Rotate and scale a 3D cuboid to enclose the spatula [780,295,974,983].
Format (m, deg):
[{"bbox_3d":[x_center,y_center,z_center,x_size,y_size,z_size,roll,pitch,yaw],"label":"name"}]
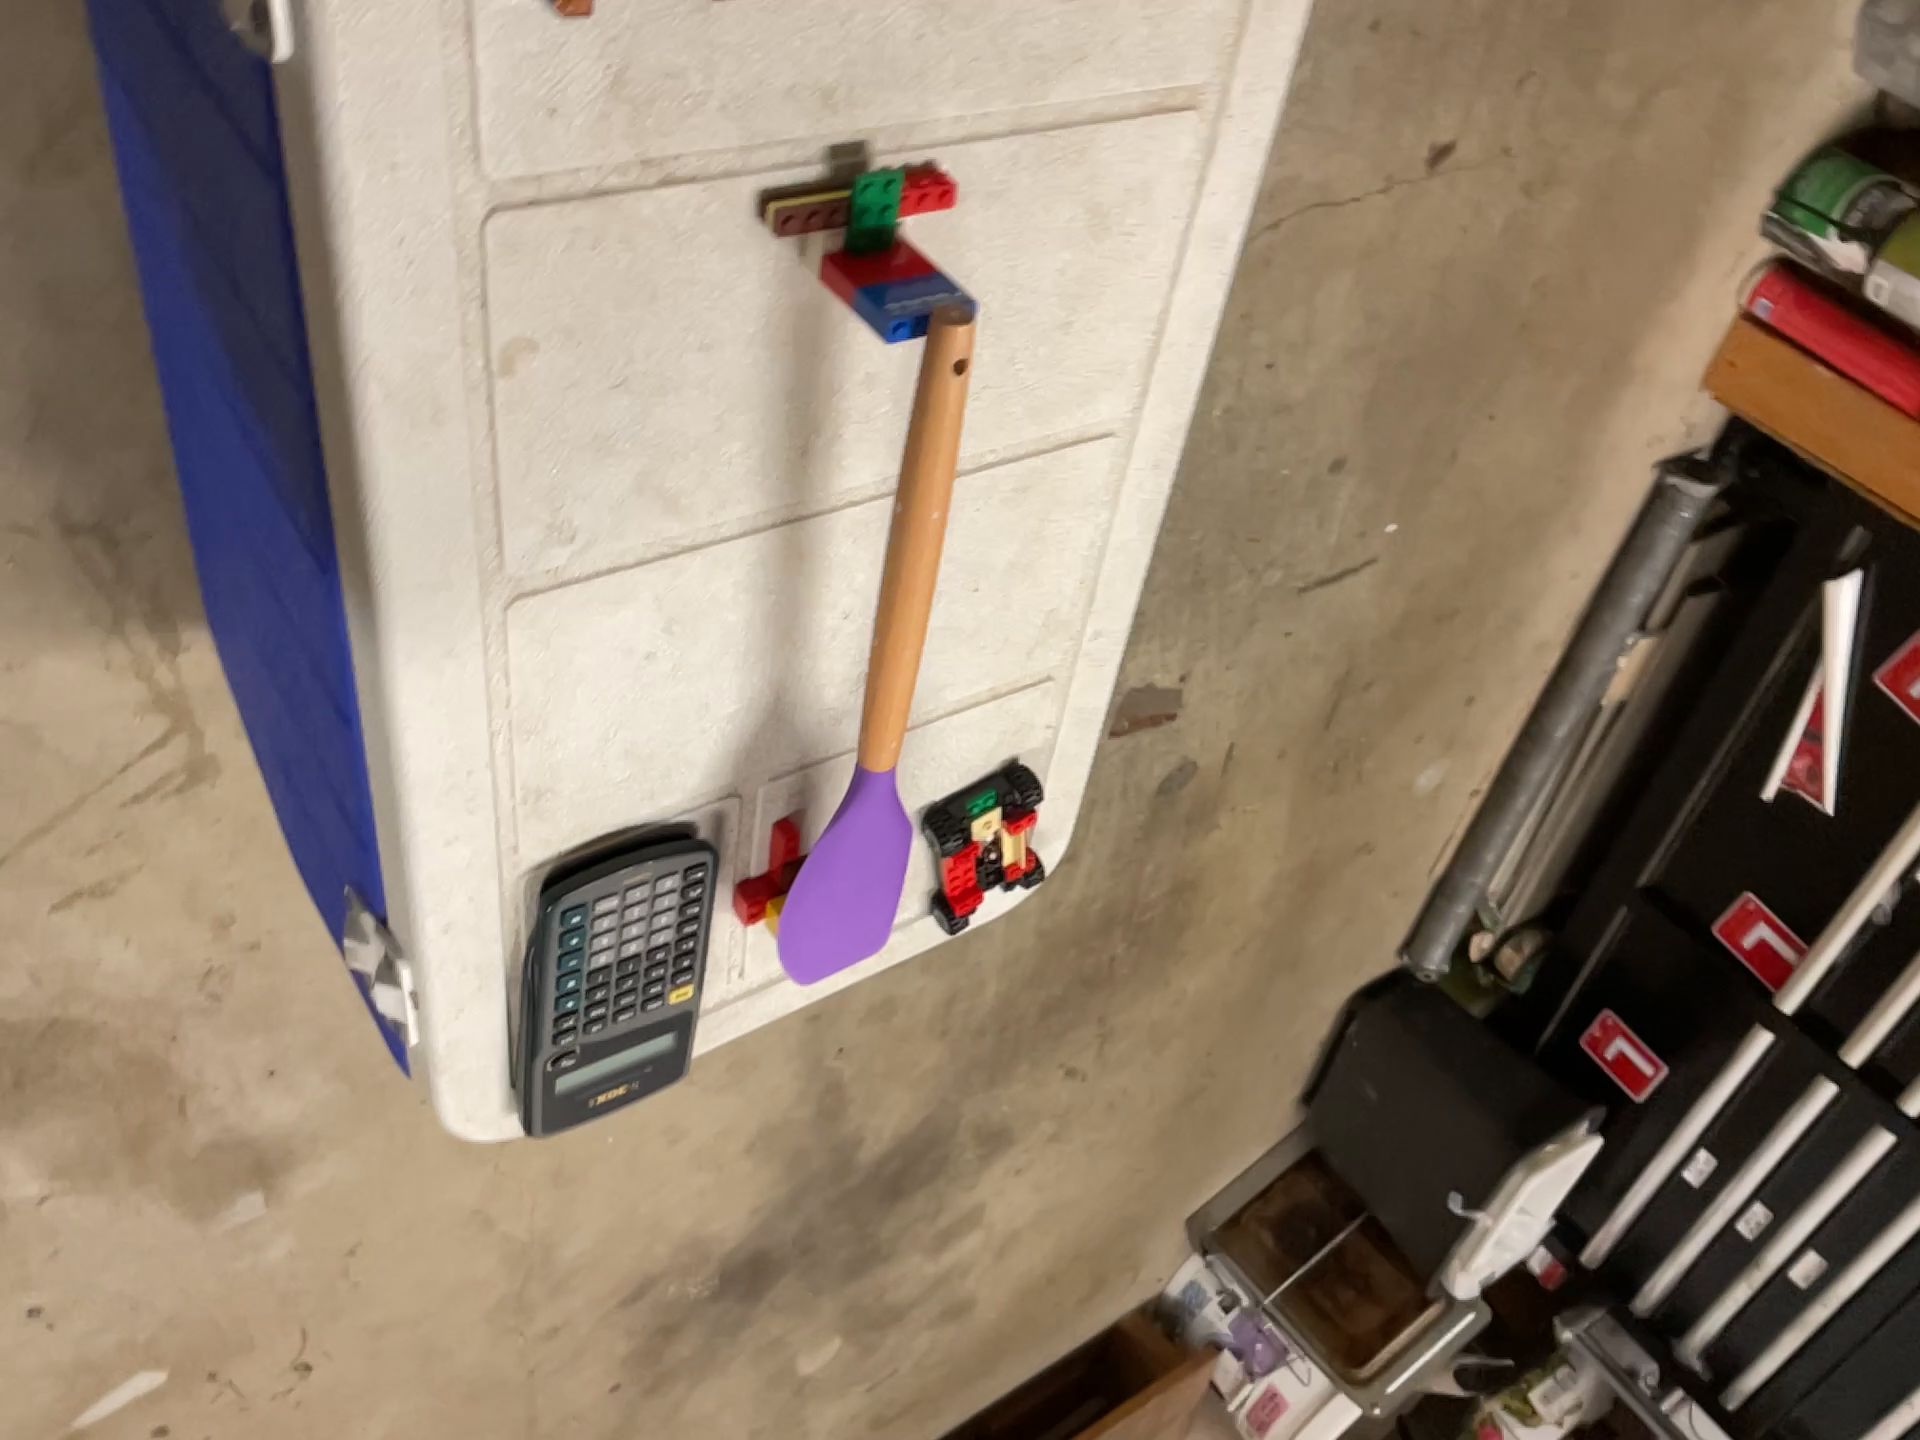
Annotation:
[{"bbox_3d":[-0.028,-0.006,0.563,0.060,0.018,0.315,-21,143,-31],"label":"spatula"}]
